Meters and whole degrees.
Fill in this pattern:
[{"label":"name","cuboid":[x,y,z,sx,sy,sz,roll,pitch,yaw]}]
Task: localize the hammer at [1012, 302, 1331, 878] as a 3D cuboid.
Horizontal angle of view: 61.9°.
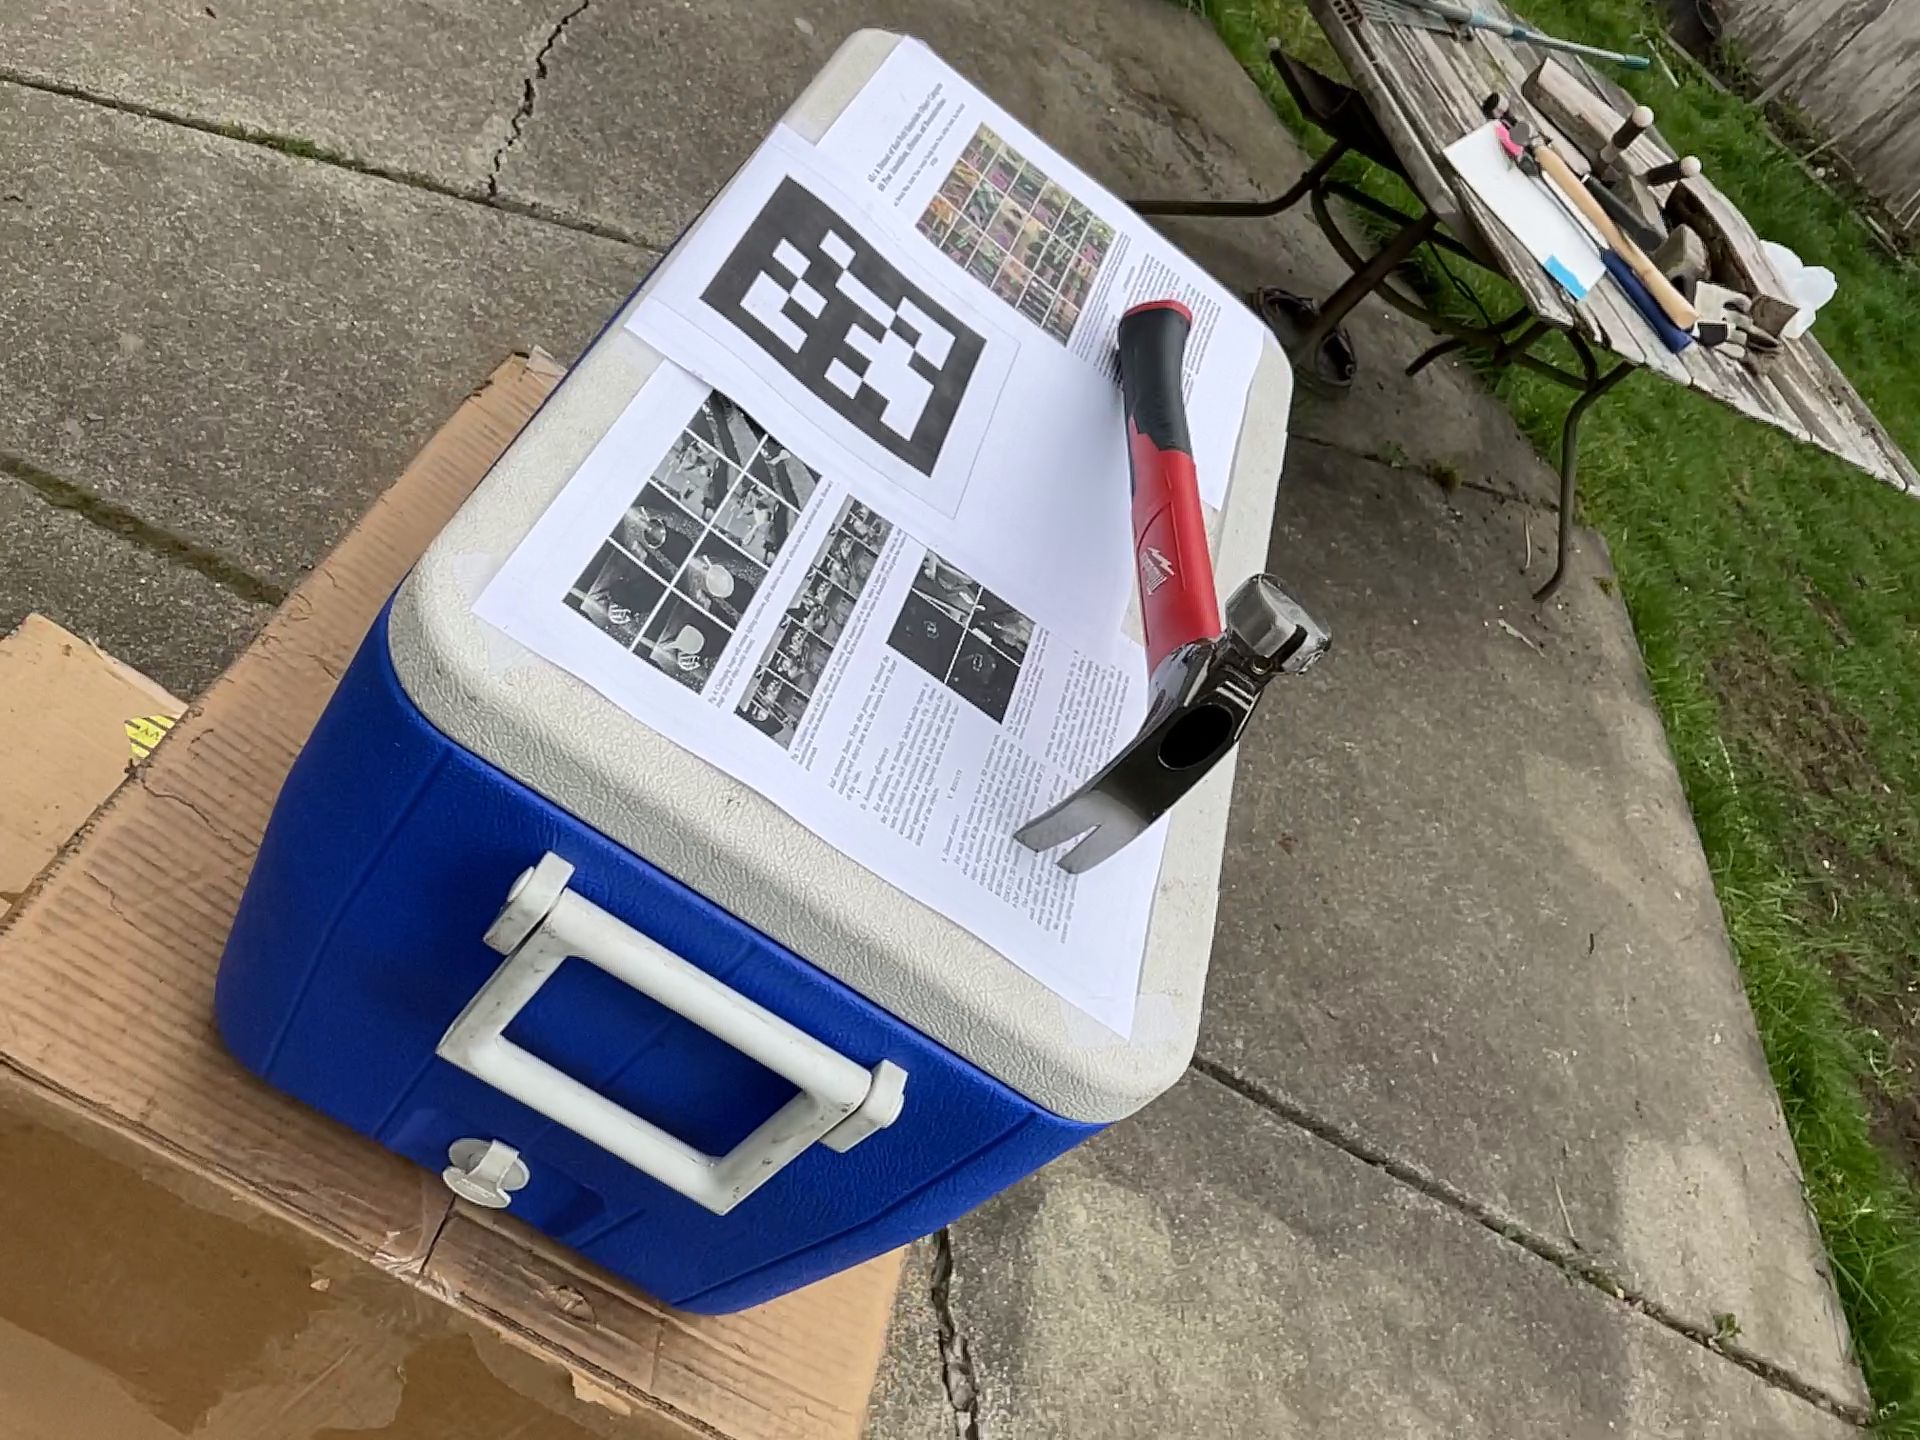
[{"label":"hammer","cuboid":[0.083,-0.092,0.735,0.038,0.143,0.386,32,30,-18]}]
